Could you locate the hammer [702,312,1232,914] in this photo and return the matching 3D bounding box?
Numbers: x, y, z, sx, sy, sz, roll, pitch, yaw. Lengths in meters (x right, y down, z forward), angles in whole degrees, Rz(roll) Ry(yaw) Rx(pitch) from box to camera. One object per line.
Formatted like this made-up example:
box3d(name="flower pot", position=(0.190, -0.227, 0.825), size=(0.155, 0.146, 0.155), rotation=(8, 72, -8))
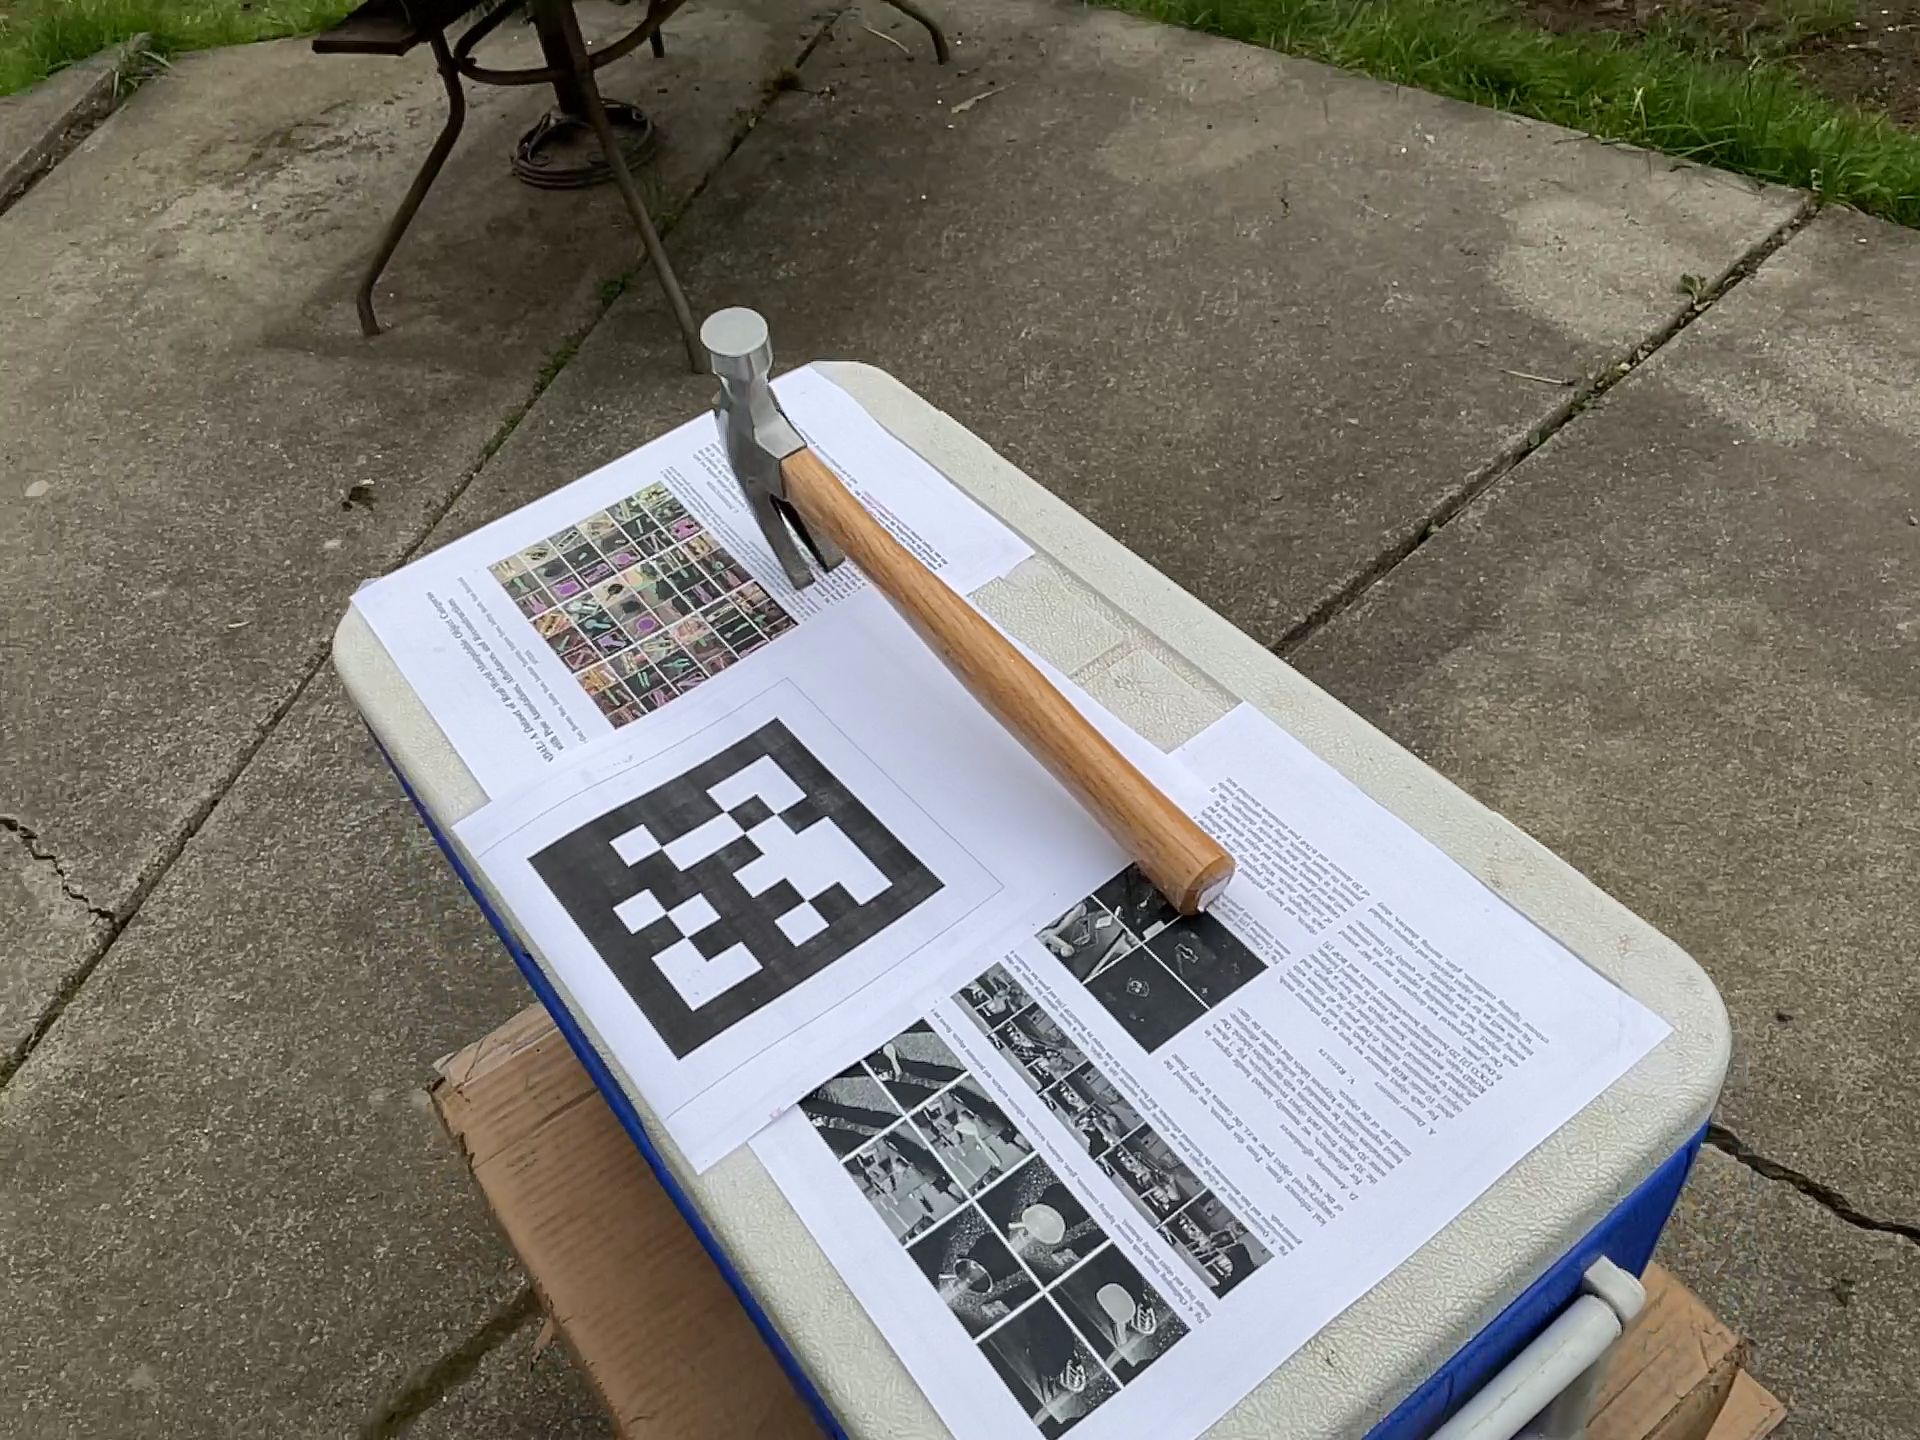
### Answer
box3d(name="hammer", position=(-0.006, -0.040, 0.695), size=(0.031, 0.130, 0.332), rotation=(-34, 62, -19))
